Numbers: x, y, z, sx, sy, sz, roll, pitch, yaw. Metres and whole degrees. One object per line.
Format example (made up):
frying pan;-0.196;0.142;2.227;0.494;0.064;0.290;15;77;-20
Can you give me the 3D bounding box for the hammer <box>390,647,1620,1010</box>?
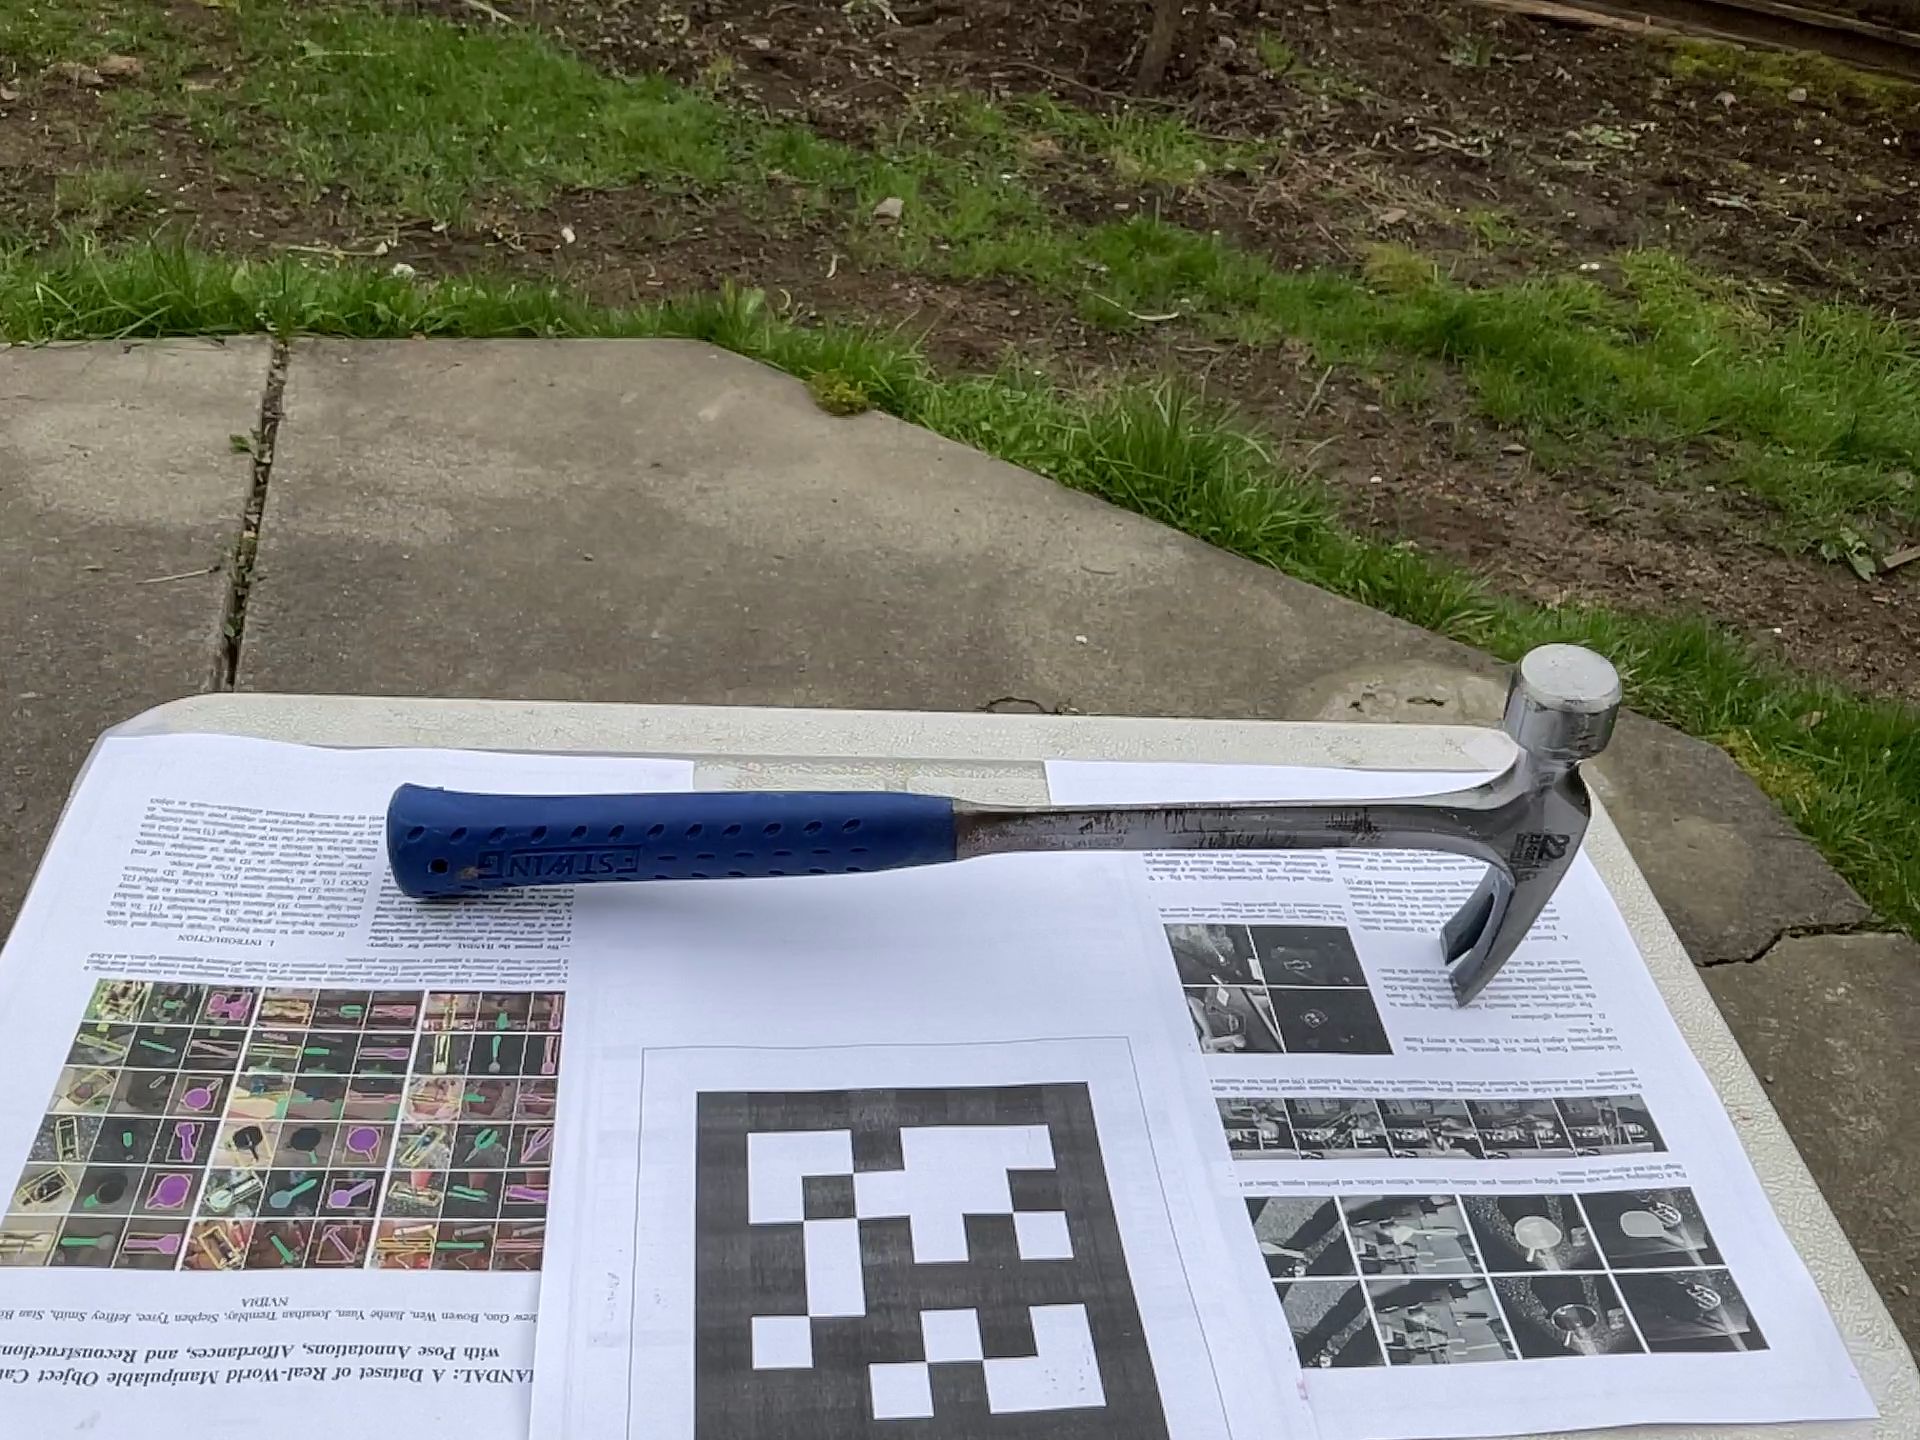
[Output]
hammer;0.010;0.044;0.559;0.405;0.144;0.035;-1;39;1
